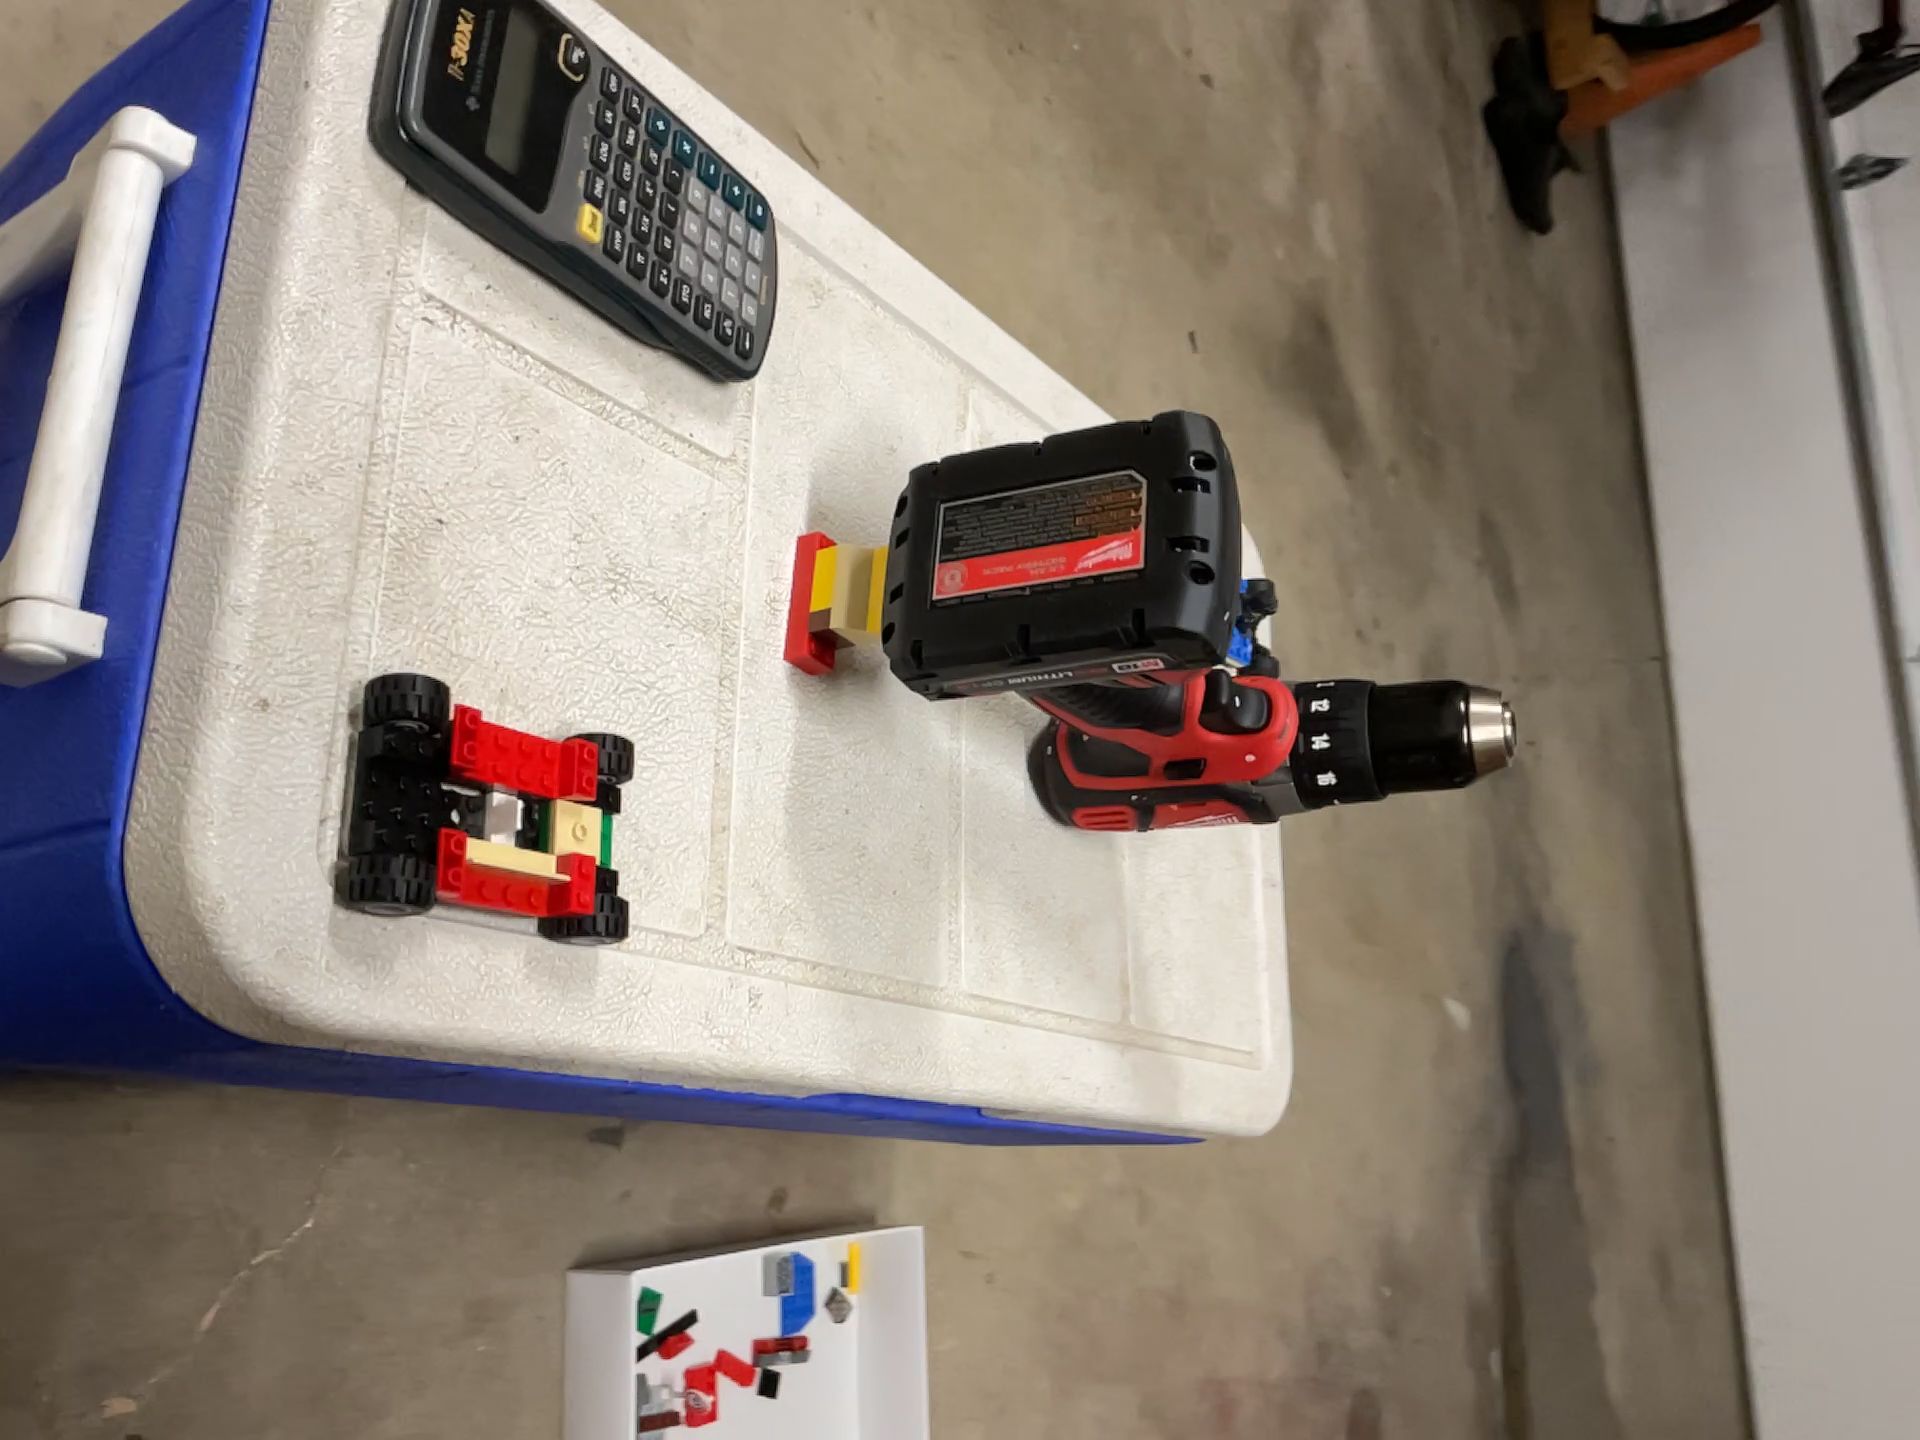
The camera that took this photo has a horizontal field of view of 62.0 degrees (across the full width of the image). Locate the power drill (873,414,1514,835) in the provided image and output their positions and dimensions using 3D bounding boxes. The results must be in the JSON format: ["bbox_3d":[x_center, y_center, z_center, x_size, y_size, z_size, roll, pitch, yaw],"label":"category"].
[{"bbox_3d":[0.090,-0.017,0.582,0.226,0.187,0.080,41,49,-55],"label":"power drill"}]
